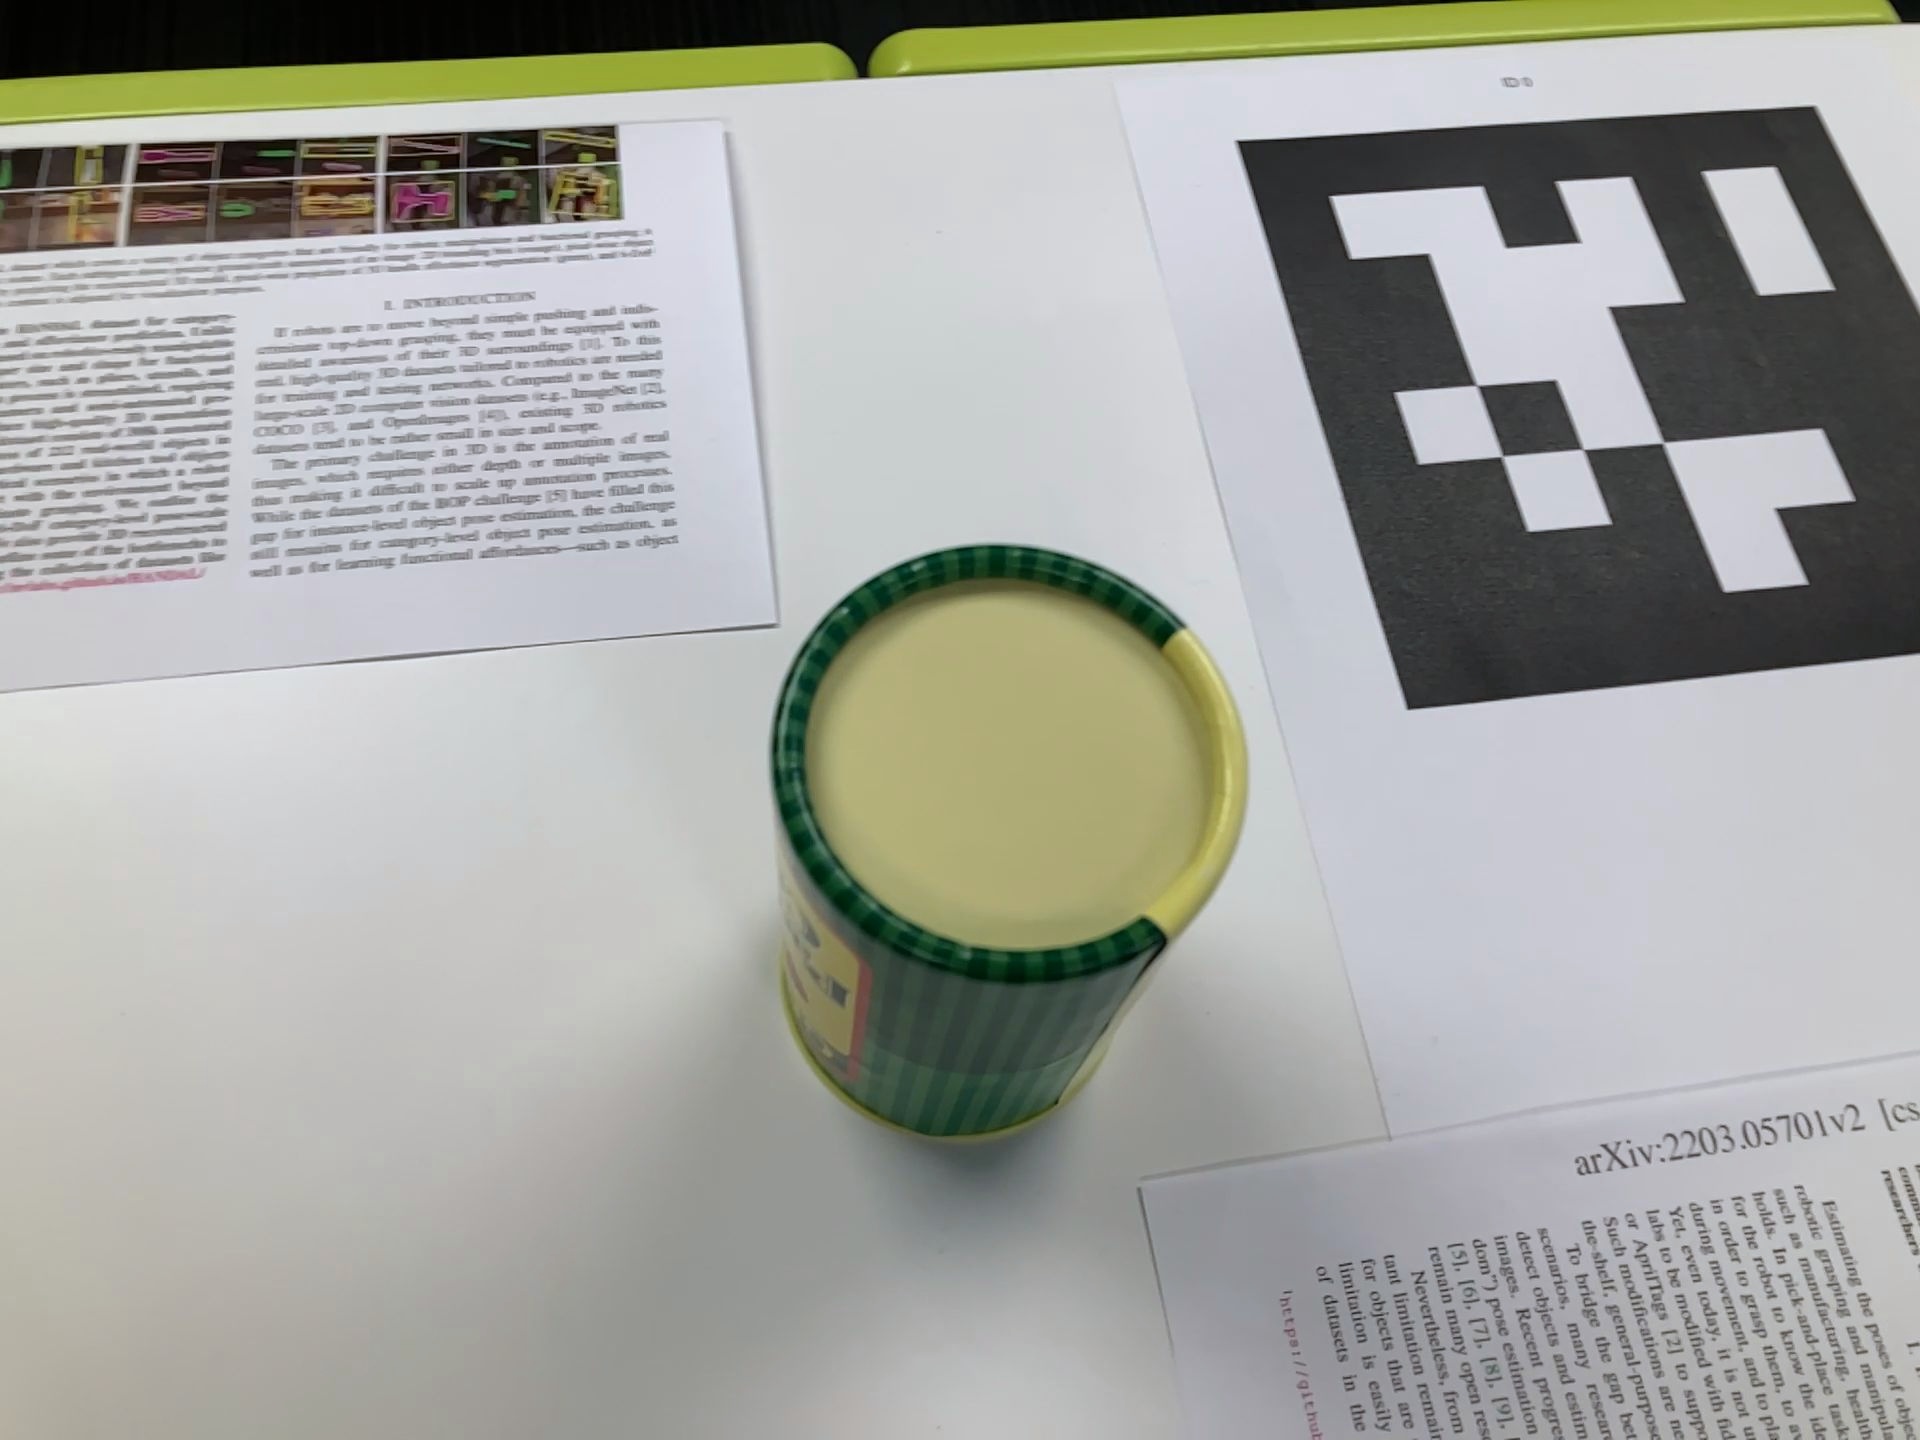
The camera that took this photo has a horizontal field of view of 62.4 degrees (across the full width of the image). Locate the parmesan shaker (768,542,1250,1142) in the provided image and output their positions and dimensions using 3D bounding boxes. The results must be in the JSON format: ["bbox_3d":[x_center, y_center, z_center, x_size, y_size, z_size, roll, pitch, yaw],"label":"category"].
[{"bbox_3d":[0.003,0.022,0.258,0.071,0.103,0.071,2,64,-4],"label":"parmesan shaker"}]
